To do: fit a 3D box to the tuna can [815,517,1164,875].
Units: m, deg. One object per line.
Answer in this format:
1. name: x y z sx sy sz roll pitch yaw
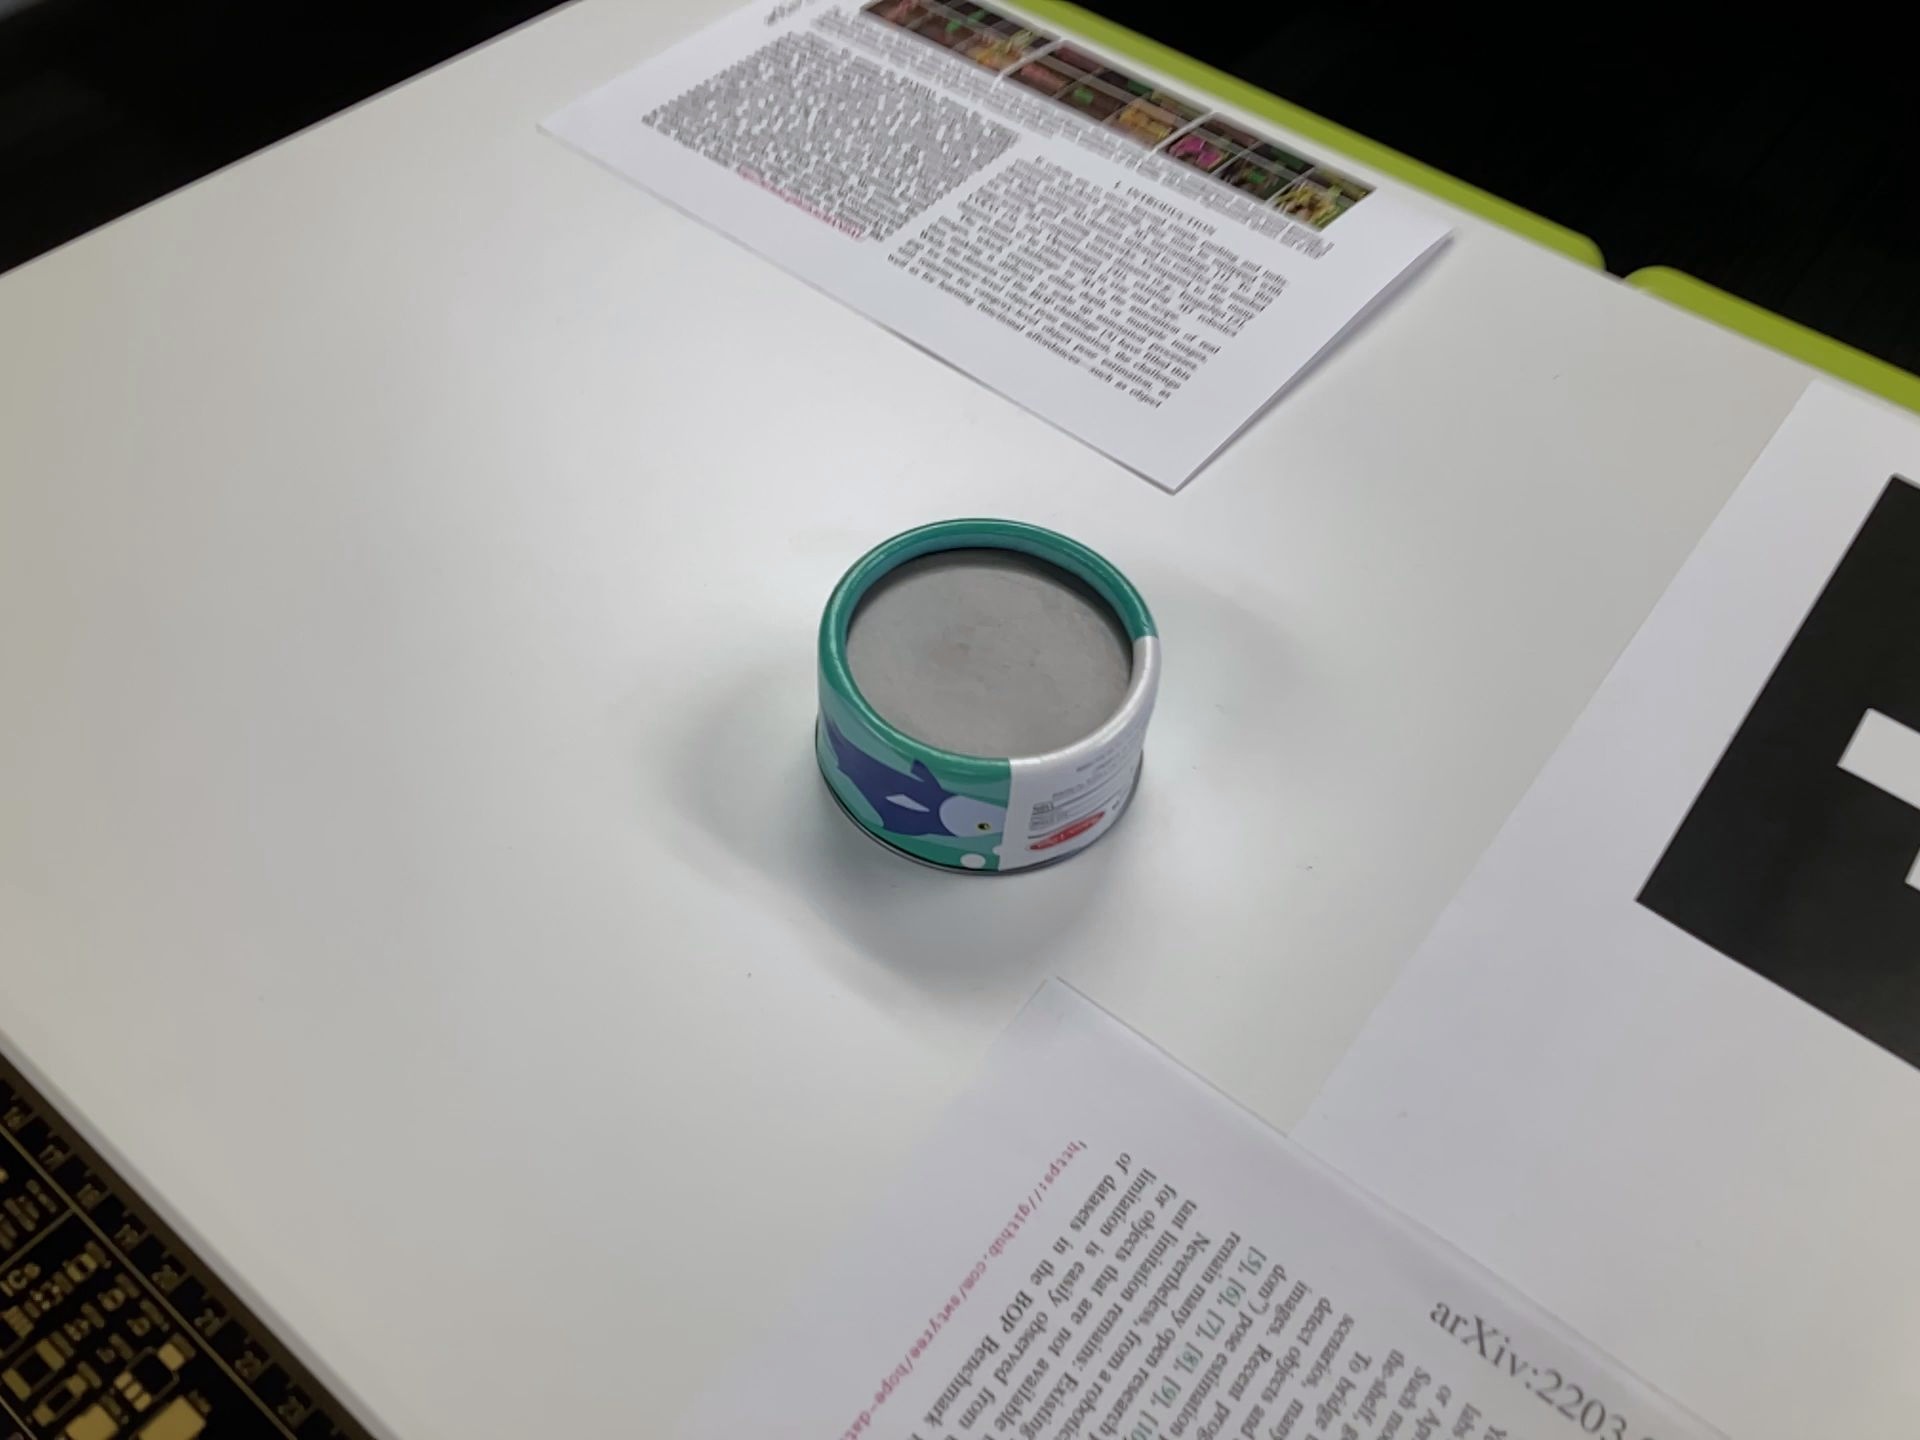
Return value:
1. tuna can: 0.003 -0.008 0.308 0.071 0.033 0.071 3 50 -3
